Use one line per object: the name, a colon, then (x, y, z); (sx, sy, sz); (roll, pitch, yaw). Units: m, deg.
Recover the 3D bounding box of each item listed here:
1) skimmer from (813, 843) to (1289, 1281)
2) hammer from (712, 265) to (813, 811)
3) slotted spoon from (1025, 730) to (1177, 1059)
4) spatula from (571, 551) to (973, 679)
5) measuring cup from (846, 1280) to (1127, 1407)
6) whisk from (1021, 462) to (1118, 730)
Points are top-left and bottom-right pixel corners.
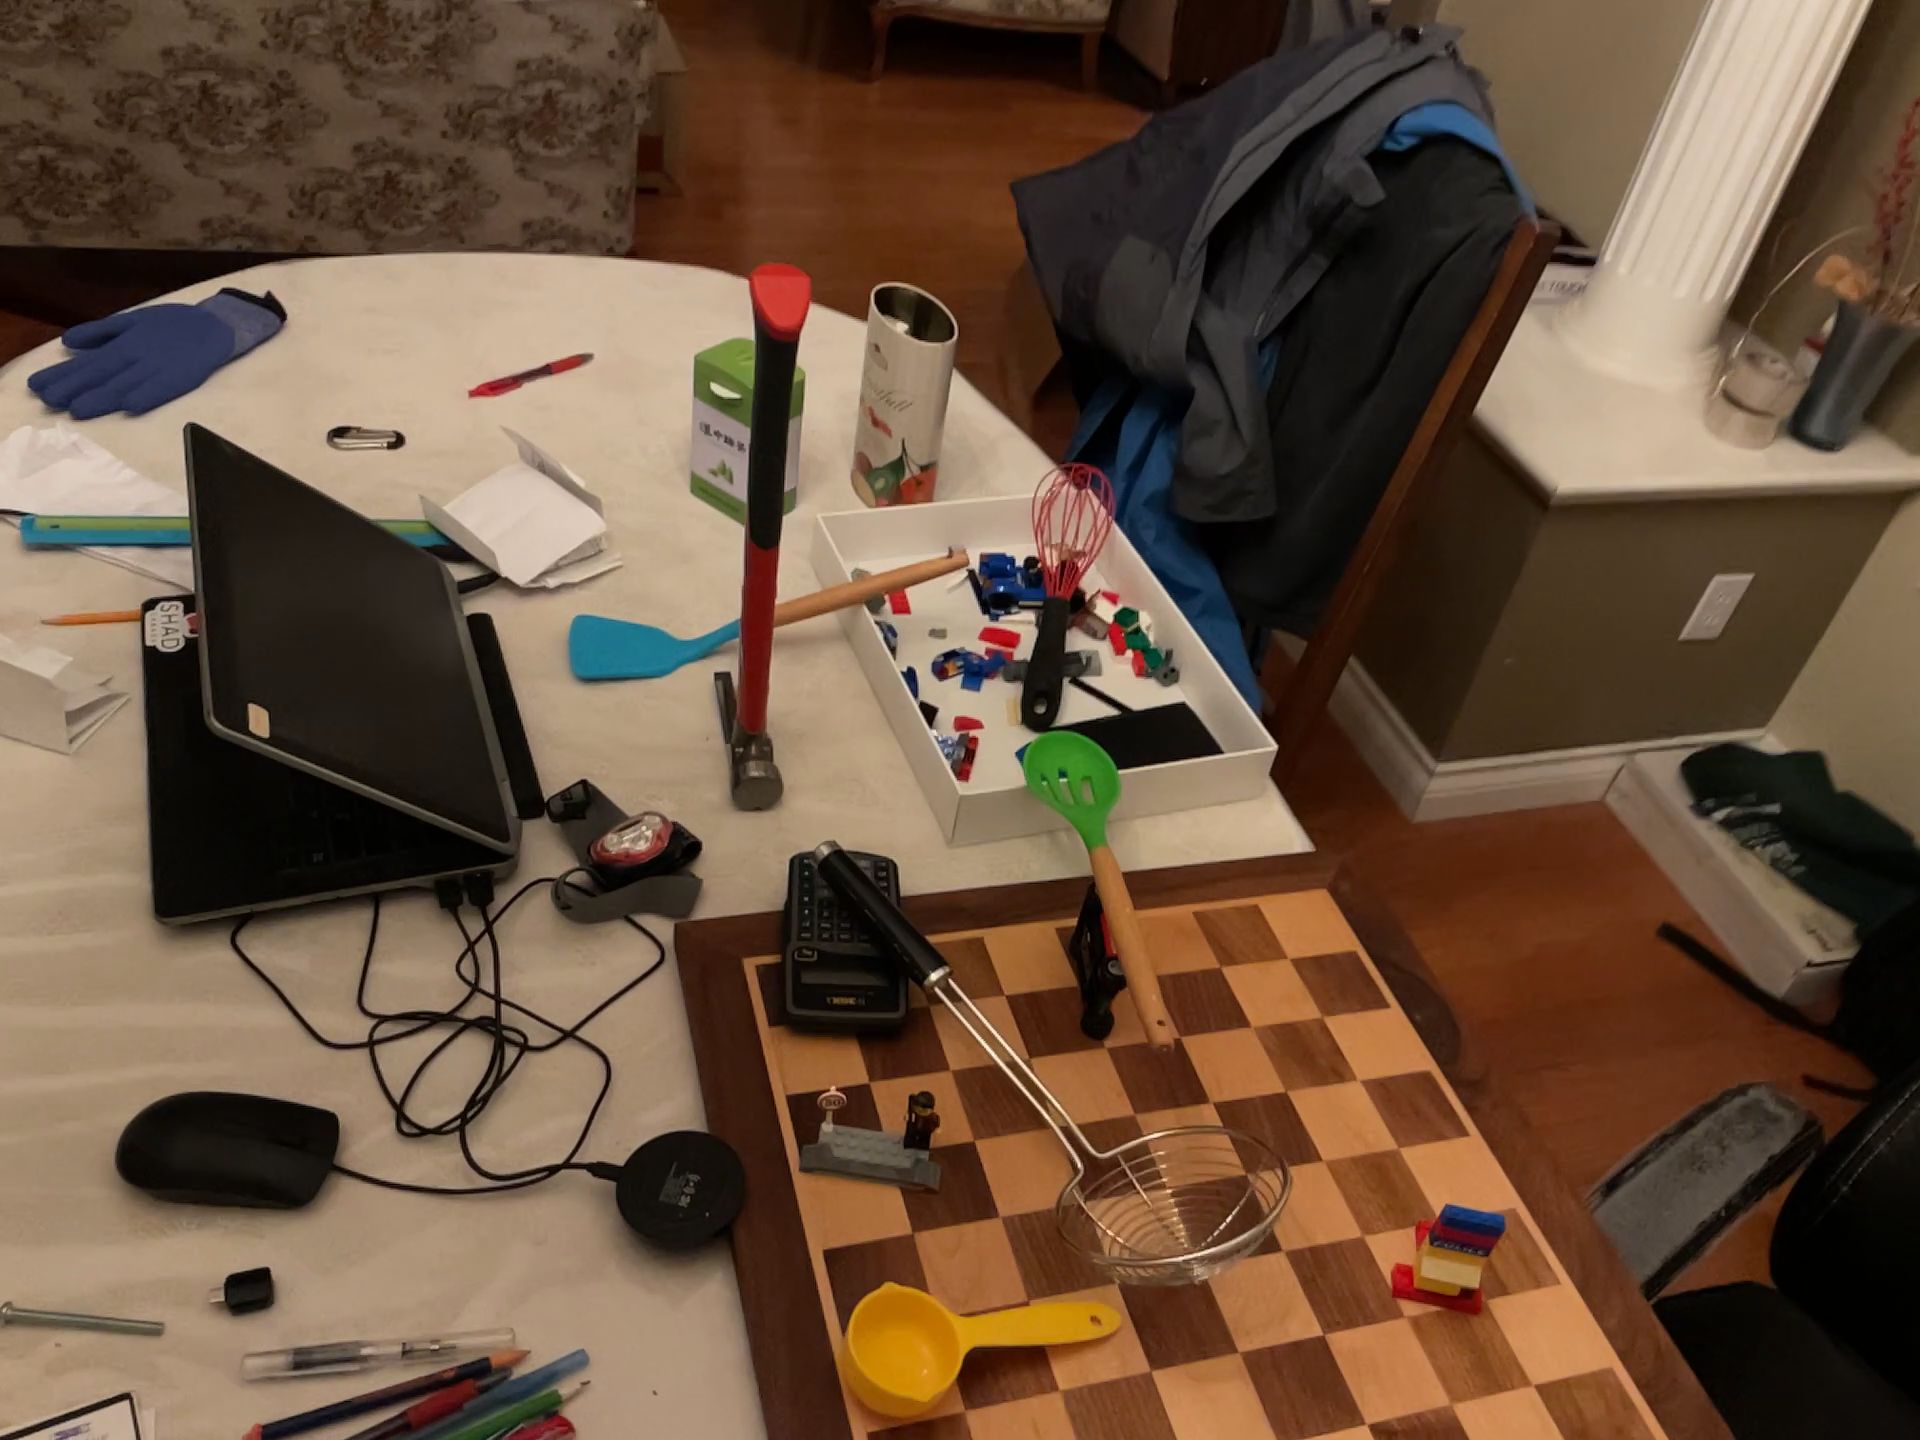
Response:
skimmer: (0.032, 0.177, 0.925); (0.127, 0.090, 0.364); (-25, 55, -33)
hammer: (-0.135, -0.125, 1.066); (0.038, 0.386, 0.143); (-3, 41, -16)
slotted spoon: (0.093, 0.102, 1.009); (0.070, 0.031, 0.314); (4, 31, -11)
spatula: (-0.145, -0.089, 1.246); (0.317, 0.044, 0.082); (-17, 41, 0)
measuring cup: (0.015, 0.320, 0.818); (0.156, 0.029, 0.062); (6, 35, -25)
whisk: (0.085, -0.110, 1.329); (0.073, 0.073, 0.296); (0, 51, 16)
